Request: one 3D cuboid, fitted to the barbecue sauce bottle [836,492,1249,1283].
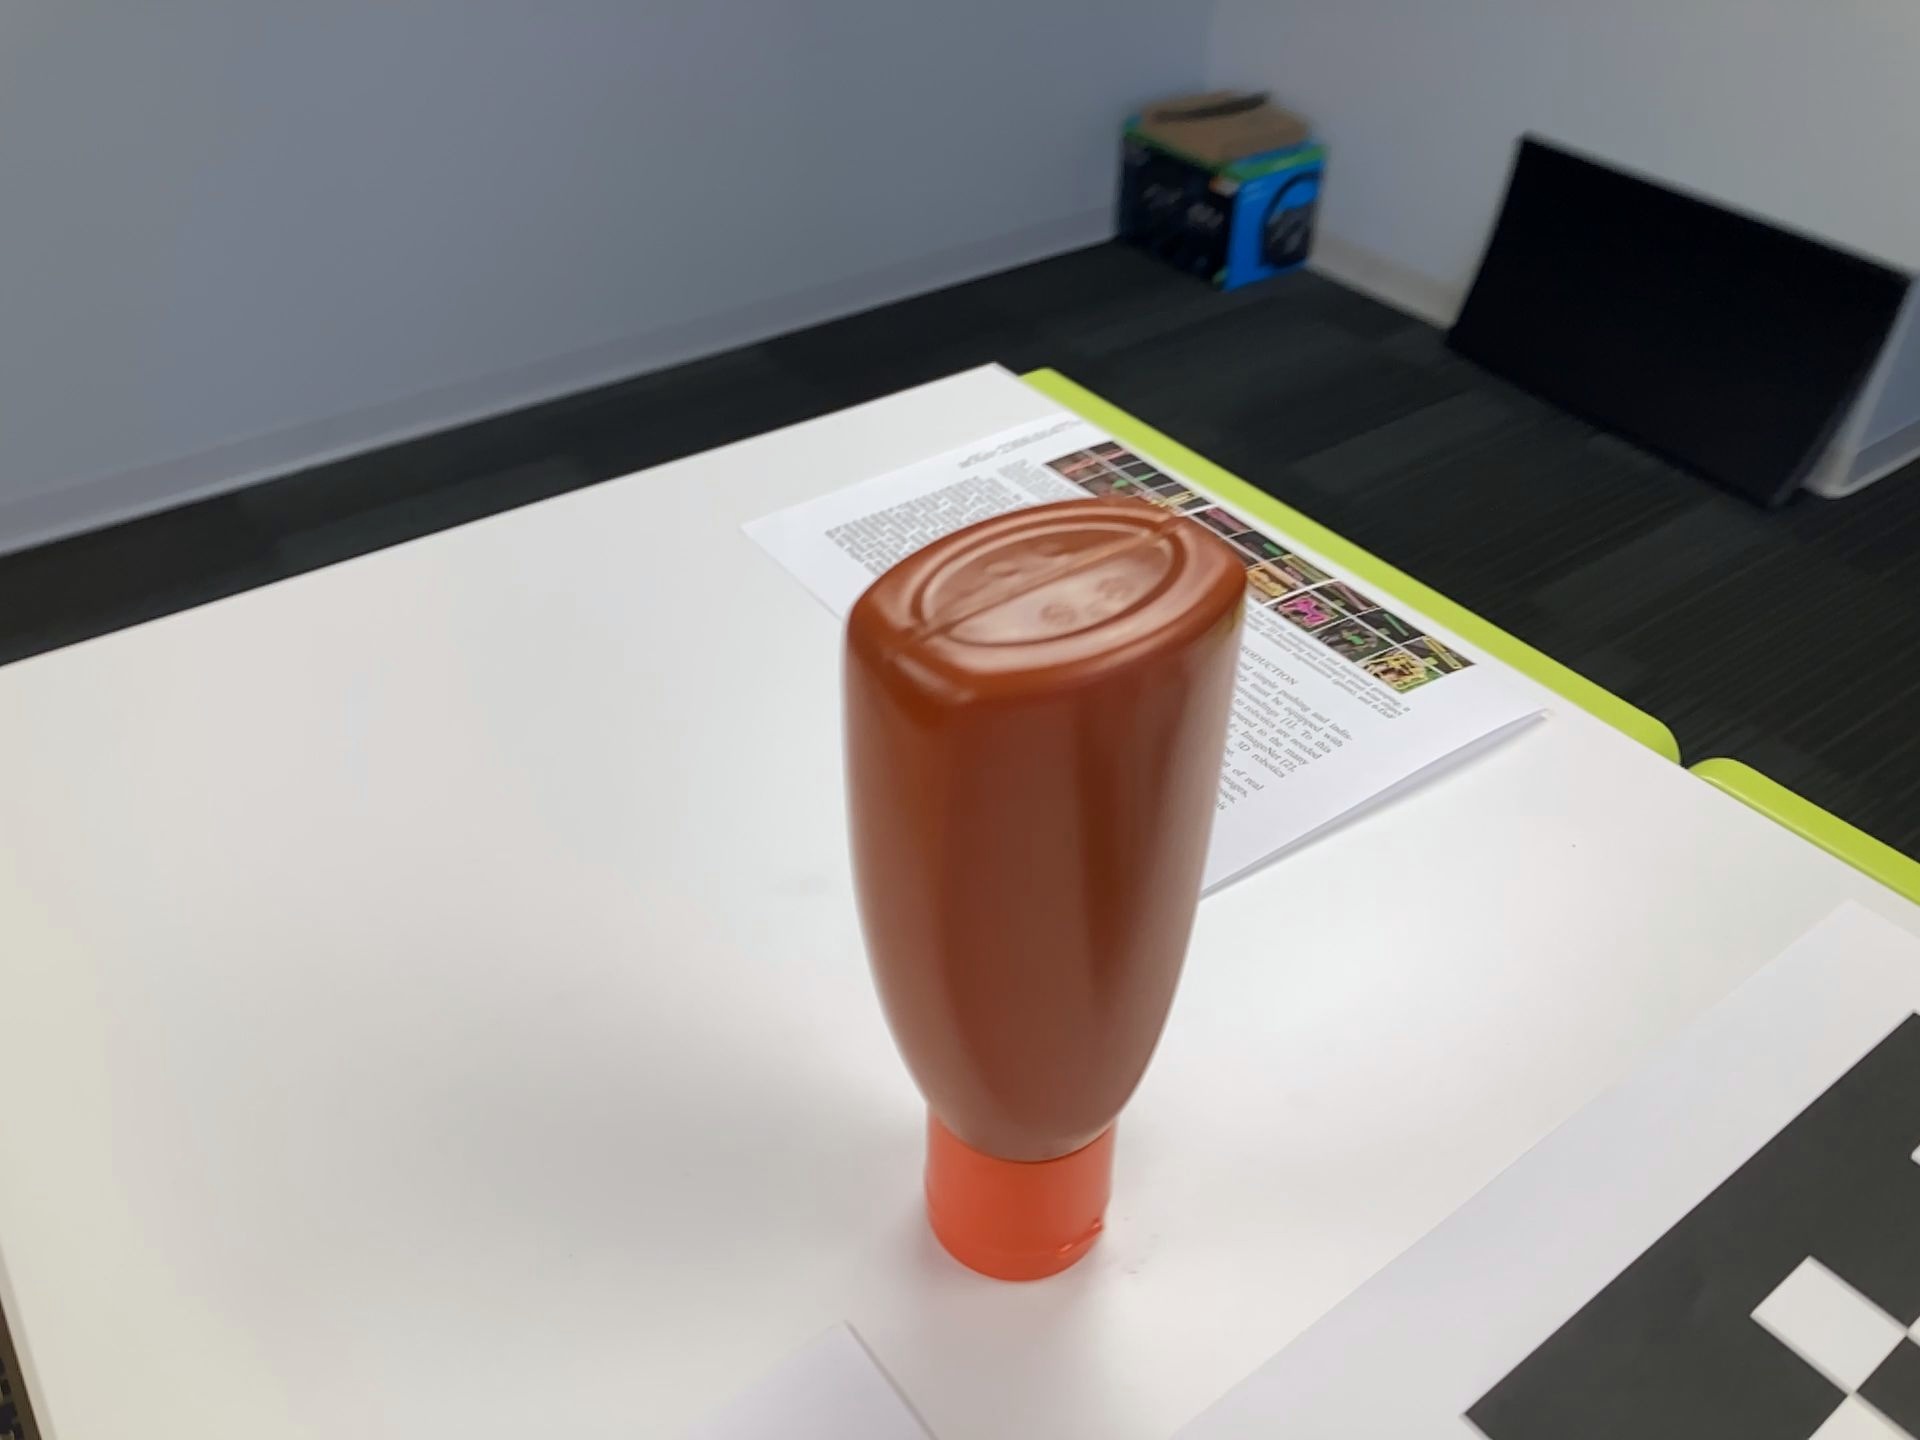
[{"bbox_3d":[0.012,0.038,0.272,0.065,0.148,0.043,-25,44,-30],"label":"barbecue sauce bottle"}]
